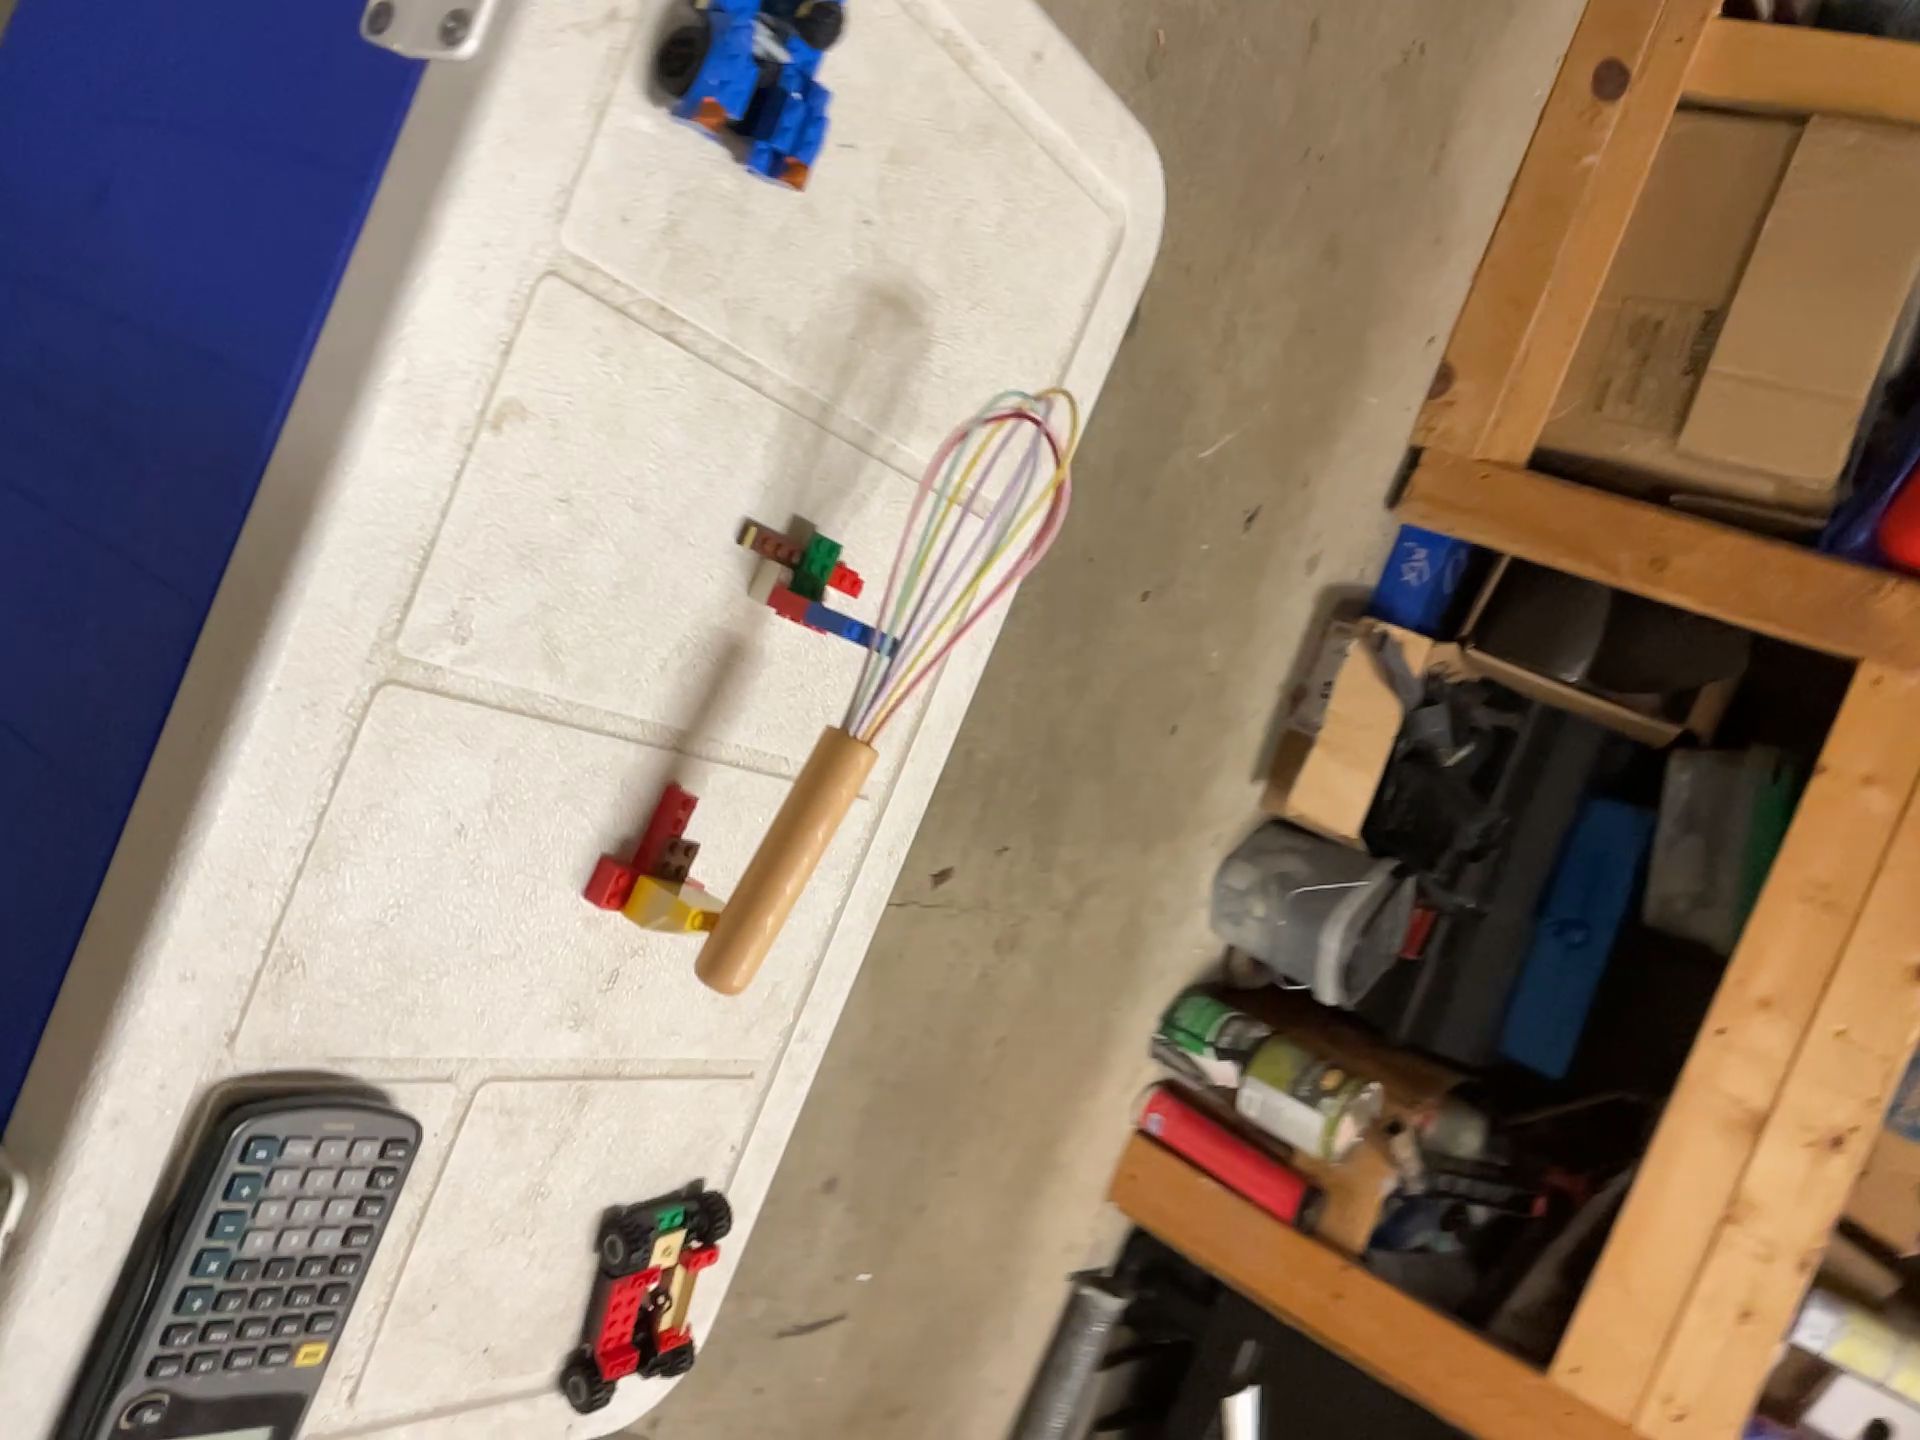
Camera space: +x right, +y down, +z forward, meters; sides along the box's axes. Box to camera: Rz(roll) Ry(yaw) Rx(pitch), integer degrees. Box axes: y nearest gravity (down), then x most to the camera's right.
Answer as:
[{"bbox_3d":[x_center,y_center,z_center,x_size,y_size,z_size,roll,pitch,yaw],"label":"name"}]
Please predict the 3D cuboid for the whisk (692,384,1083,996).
[{"bbox_3d":[-0.025,-0.013,0.559,0.245,0.047,0.051,-60,159,-3],"label":"whisk"}]
